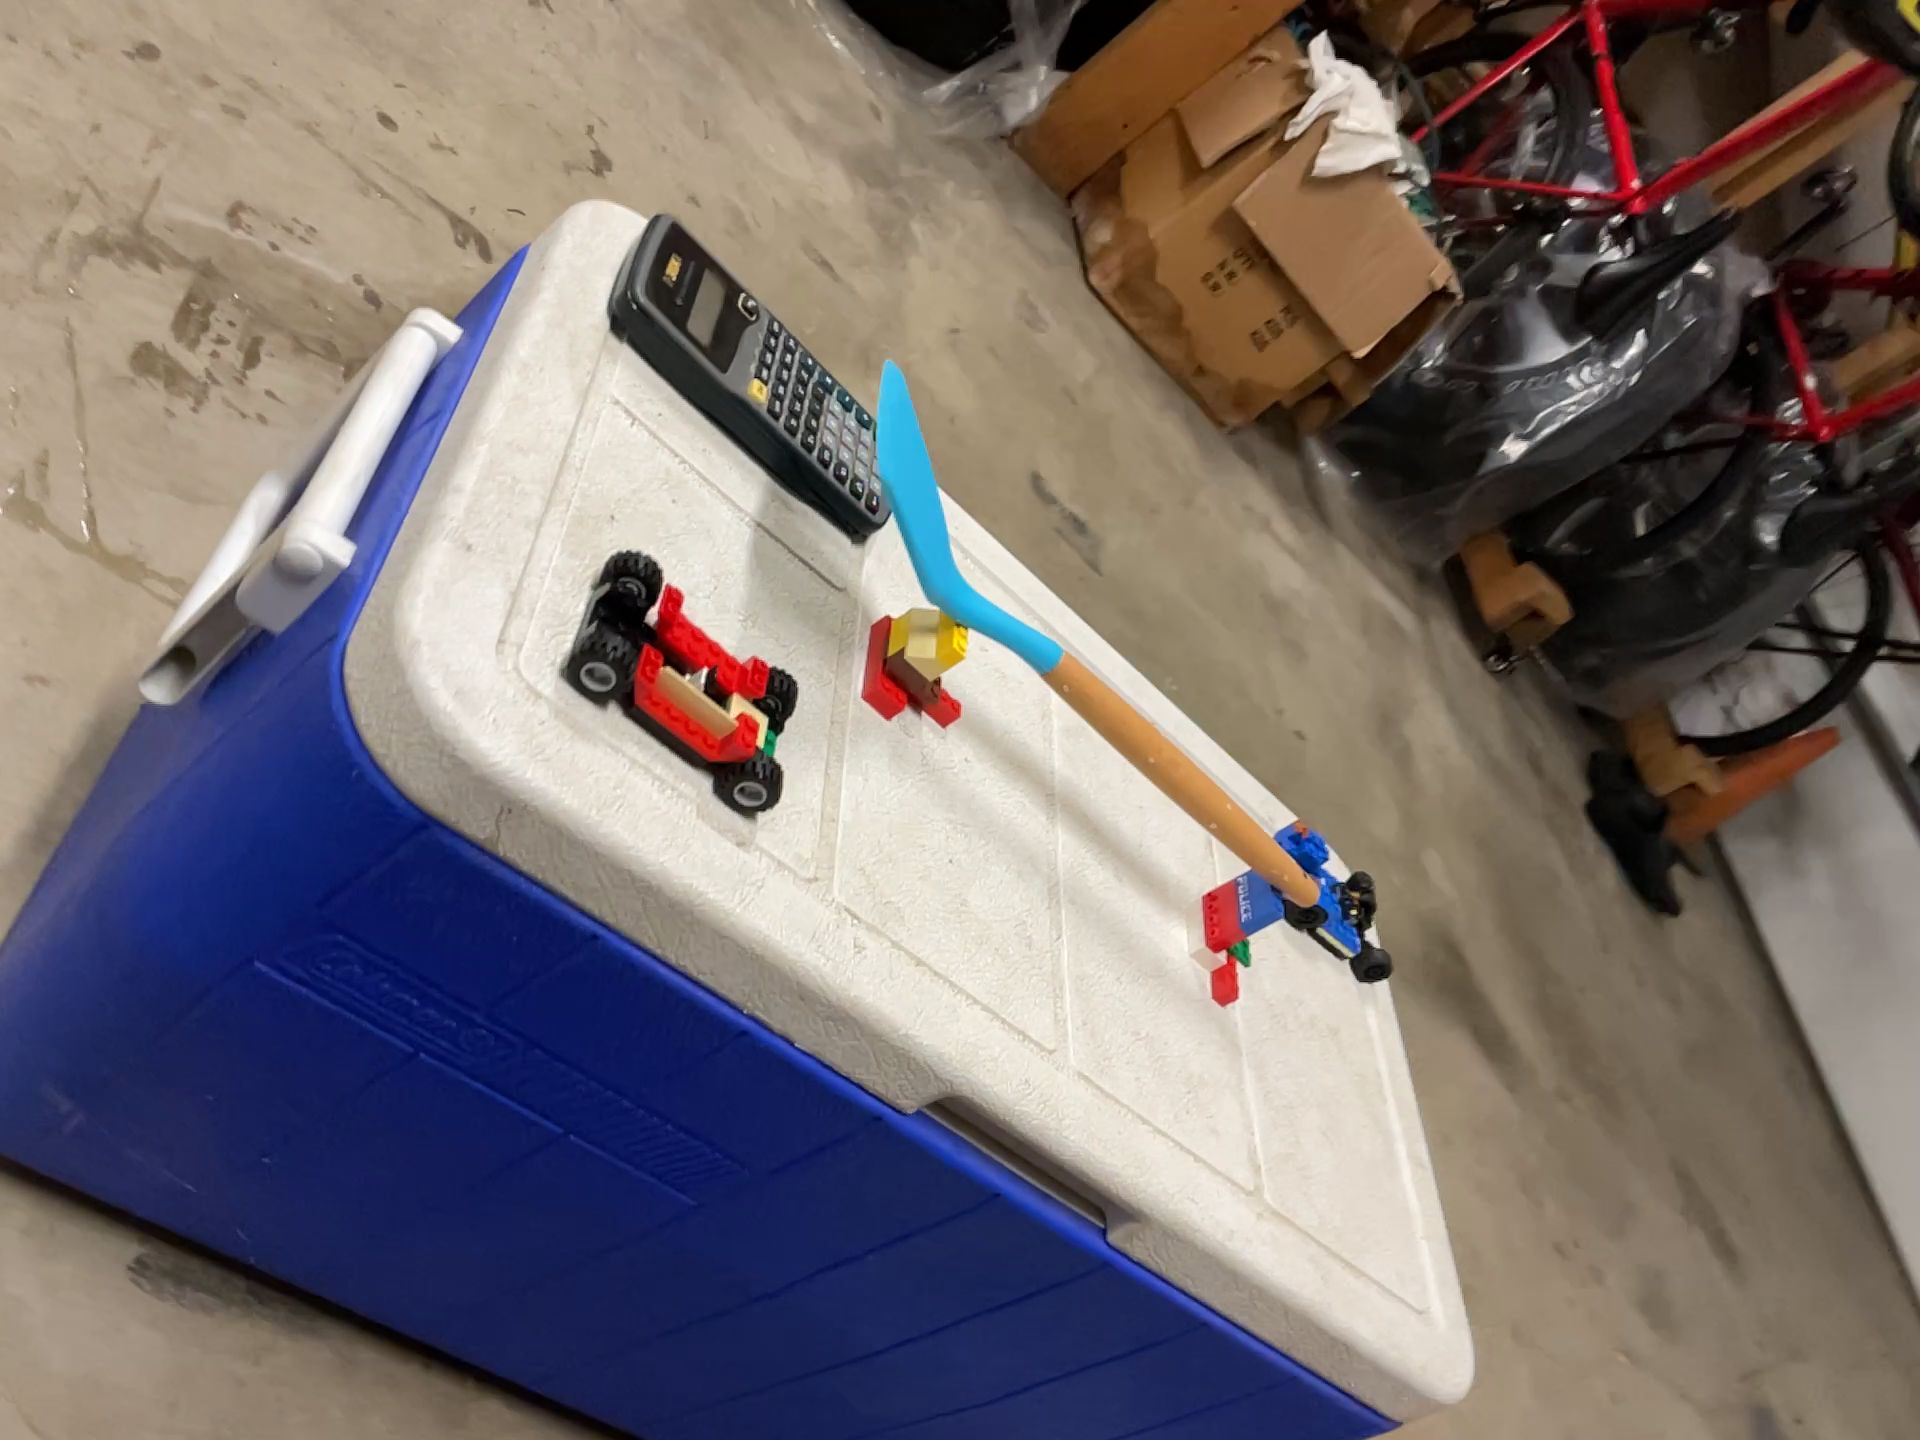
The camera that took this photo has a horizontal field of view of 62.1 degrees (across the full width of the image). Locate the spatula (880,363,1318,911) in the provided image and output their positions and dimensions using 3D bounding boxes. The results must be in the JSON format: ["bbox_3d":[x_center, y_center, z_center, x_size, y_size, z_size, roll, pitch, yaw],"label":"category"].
[{"bbox_3d":[0.062,-0.013,0.661,0.317,0.044,0.083,41,29,-27],"label":"spatula"}]
